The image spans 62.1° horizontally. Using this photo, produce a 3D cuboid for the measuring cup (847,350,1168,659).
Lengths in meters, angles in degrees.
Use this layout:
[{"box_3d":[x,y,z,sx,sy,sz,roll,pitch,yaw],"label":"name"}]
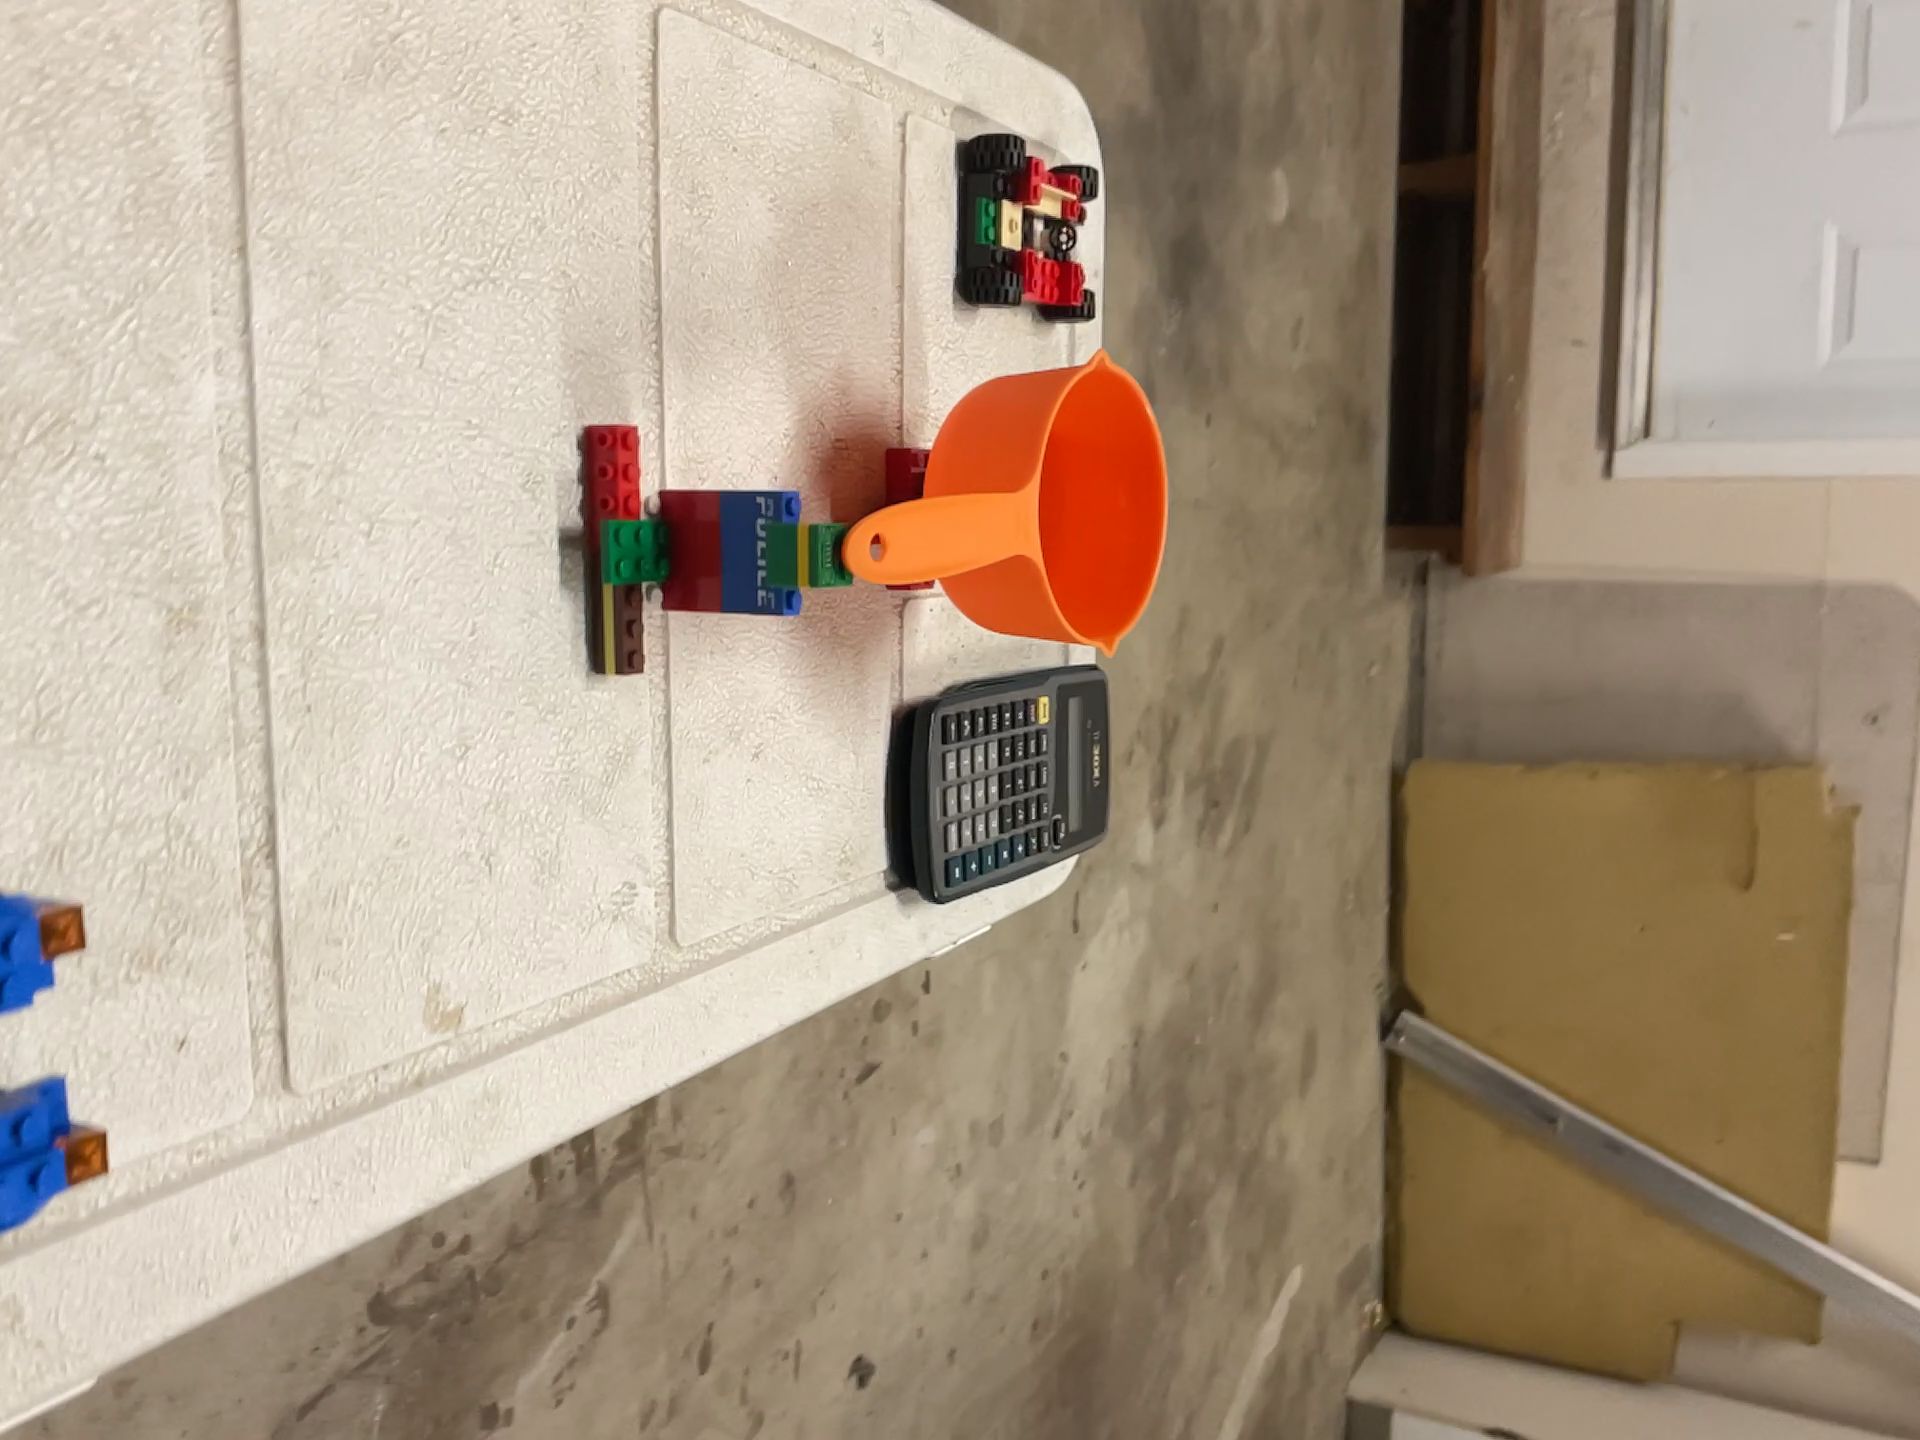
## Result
[{"box_3d":[0.002,-0.060,0.476,0.173,0.052,0.095,-19,110,-54],"label":"measuring cup"}]
